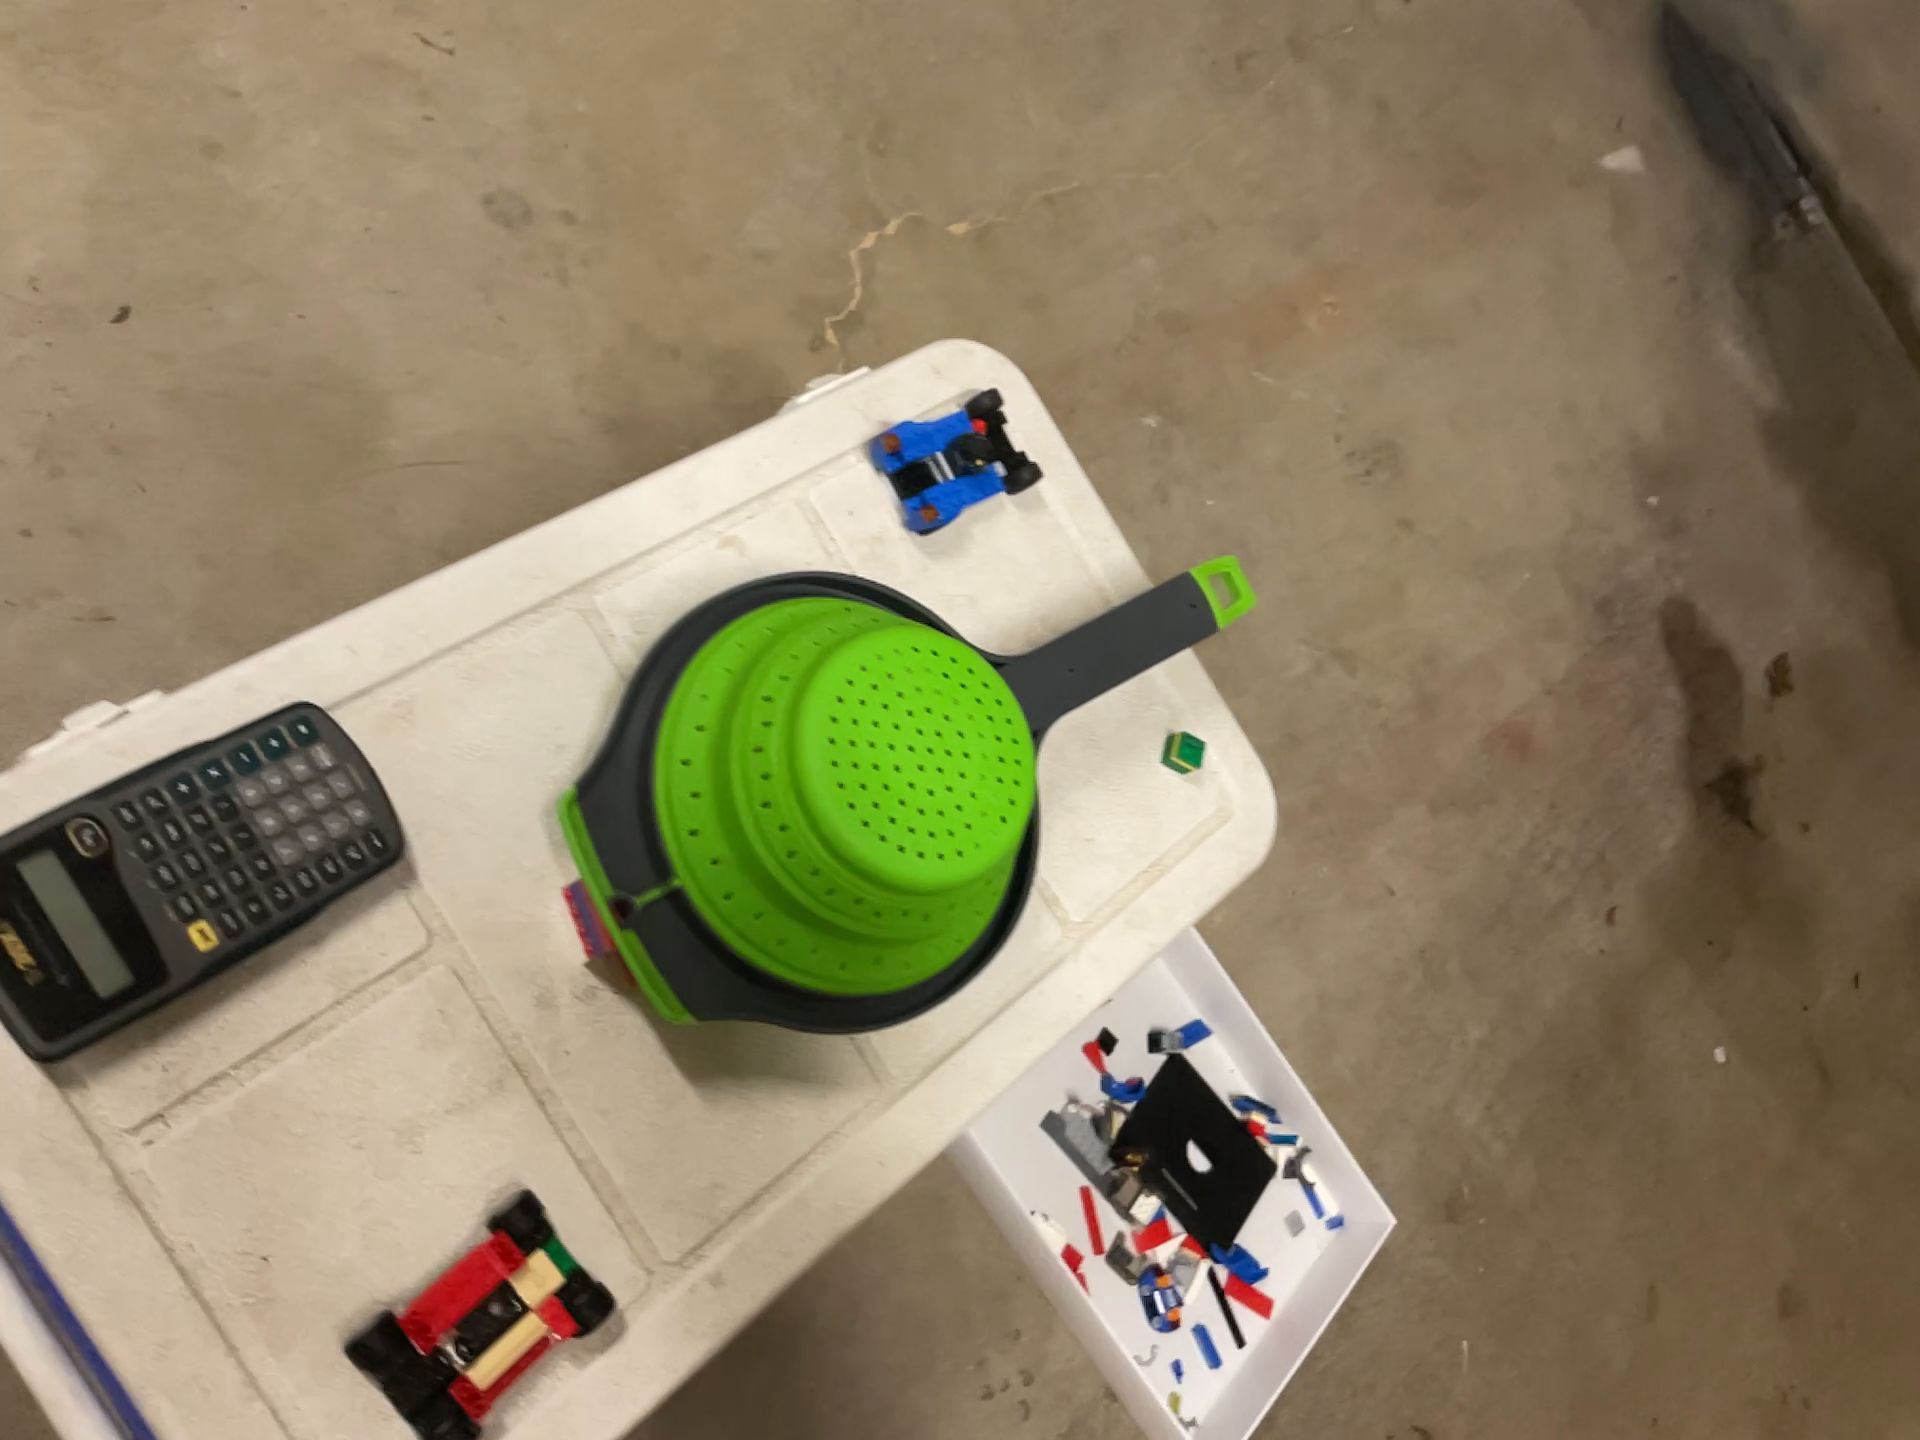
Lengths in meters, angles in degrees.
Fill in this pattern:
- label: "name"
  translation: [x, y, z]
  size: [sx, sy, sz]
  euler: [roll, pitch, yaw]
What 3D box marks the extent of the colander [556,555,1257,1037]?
- label: "colander"
  translation: [0.023, -0.008, 0.709]
  size: [0.397, 0.094, 0.204]
  euler: [-28, 91, -35]
